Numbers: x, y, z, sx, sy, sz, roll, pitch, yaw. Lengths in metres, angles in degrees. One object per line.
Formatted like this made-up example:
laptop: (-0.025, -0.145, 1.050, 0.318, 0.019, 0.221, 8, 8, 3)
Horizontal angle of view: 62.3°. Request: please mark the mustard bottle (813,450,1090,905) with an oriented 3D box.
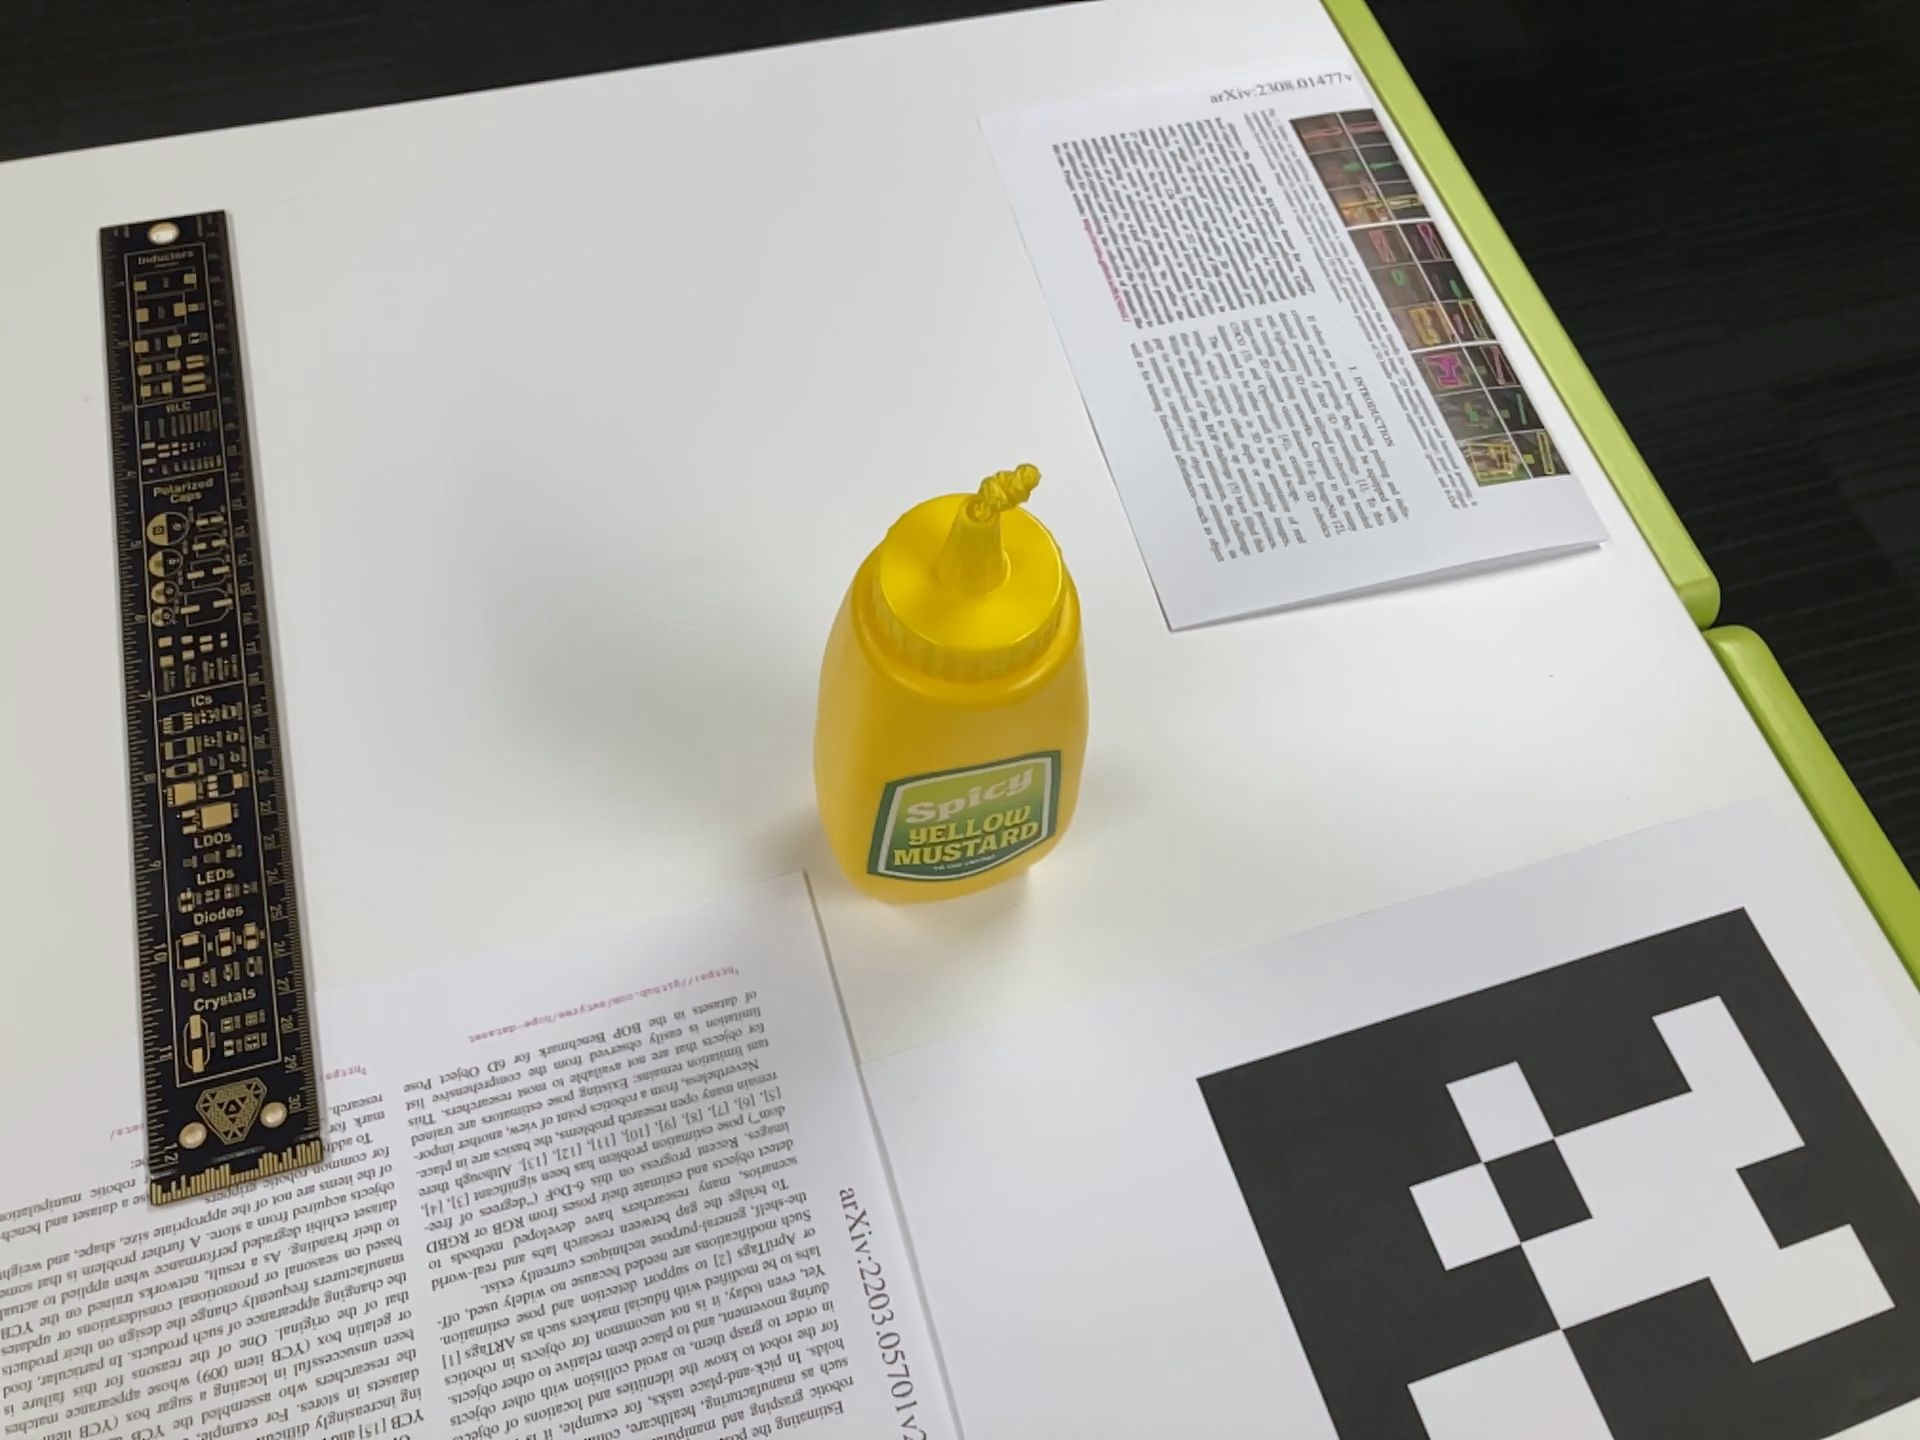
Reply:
mustard bottle: (-0.002, -0.007, 0.359, 0.065, 0.160, 0.049, -10, 64, -8)
